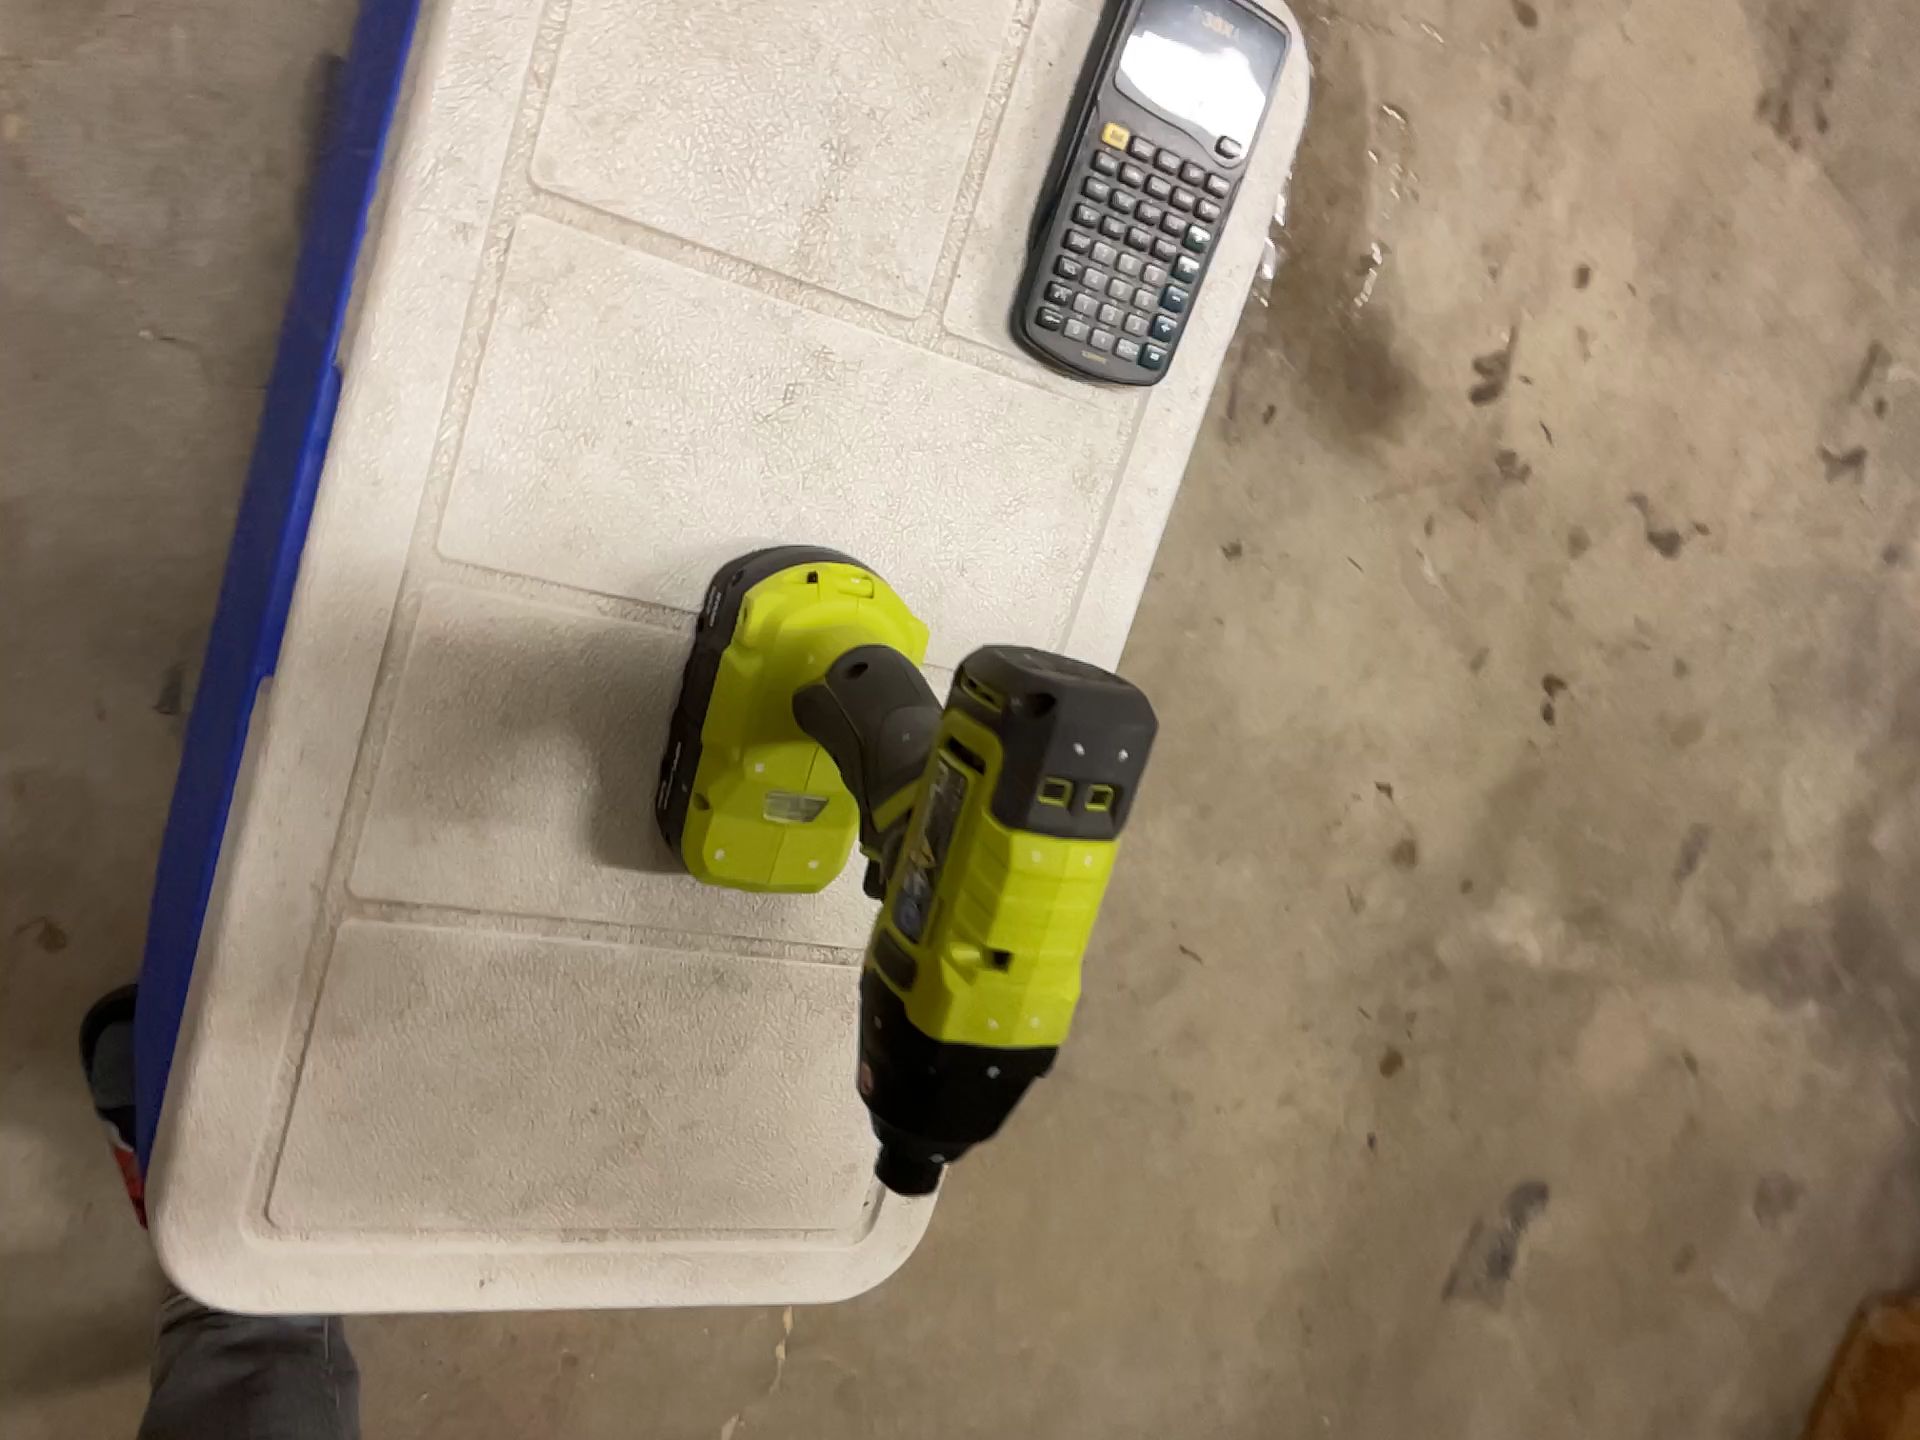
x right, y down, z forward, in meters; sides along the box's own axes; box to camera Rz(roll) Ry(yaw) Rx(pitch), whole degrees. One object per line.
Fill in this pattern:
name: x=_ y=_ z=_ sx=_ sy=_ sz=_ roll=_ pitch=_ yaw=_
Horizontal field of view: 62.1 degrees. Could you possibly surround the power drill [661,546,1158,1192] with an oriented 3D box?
power drill: x=-0.030 y=0.037 z=0.552 sx=0.080 sy=0.223 sz=0.171 roll=9 pitch=105 yaw=-29
